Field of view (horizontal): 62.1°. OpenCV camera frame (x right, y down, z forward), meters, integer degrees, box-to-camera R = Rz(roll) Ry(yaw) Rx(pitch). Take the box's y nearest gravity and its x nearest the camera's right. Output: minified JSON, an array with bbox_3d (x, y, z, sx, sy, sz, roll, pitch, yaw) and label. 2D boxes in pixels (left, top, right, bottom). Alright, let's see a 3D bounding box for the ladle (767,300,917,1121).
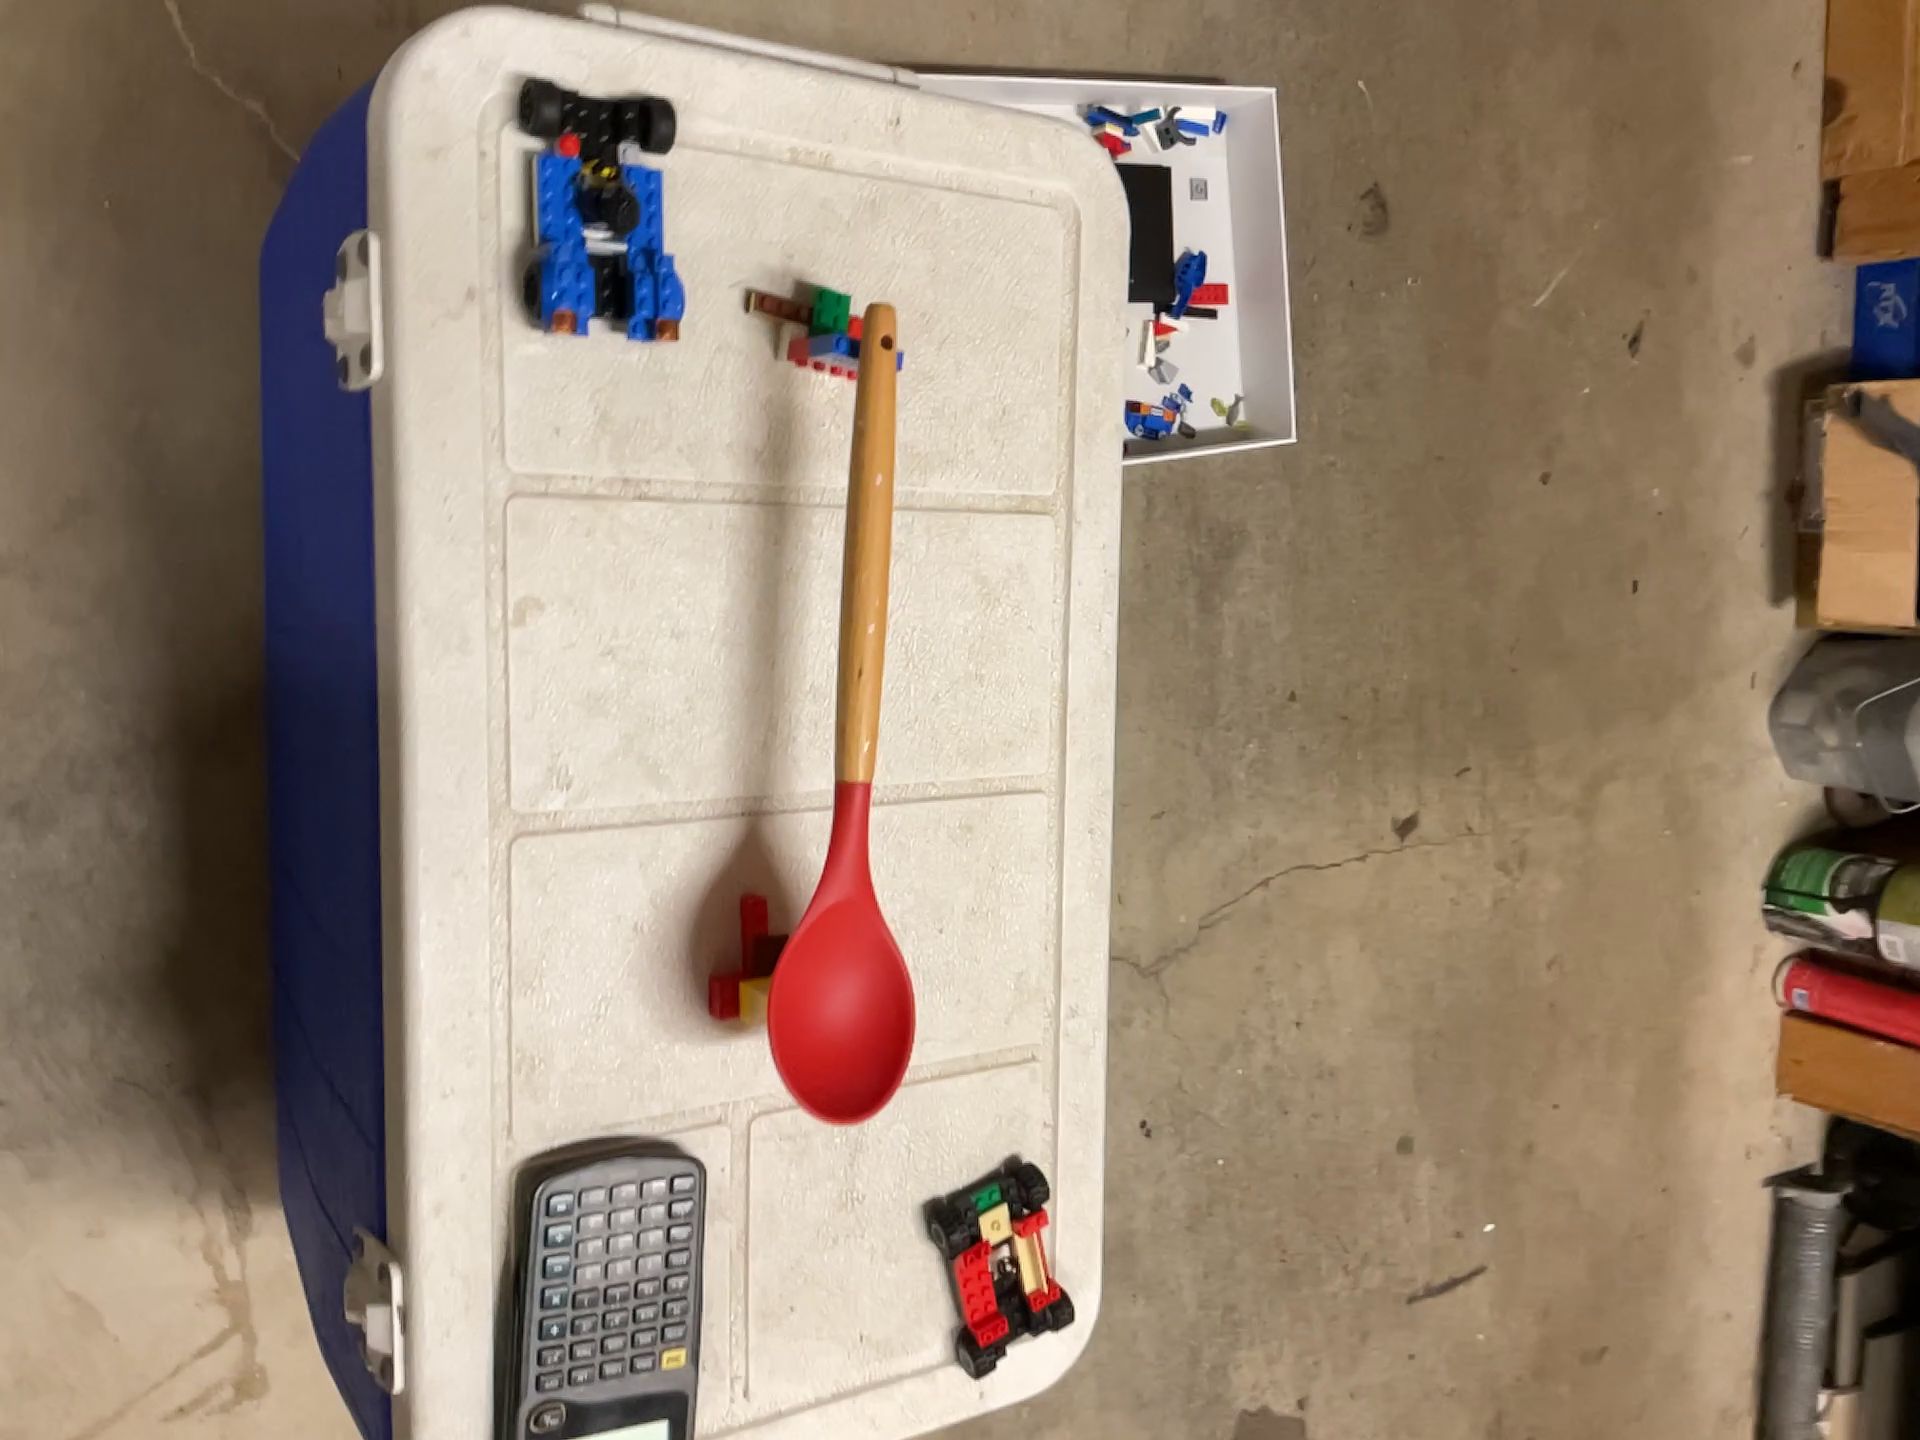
[{"bbox_3d":[-0.040,-0.003,0.621,0.069,0.031,0.315,1,95,-39],"label":"ladle"}]
